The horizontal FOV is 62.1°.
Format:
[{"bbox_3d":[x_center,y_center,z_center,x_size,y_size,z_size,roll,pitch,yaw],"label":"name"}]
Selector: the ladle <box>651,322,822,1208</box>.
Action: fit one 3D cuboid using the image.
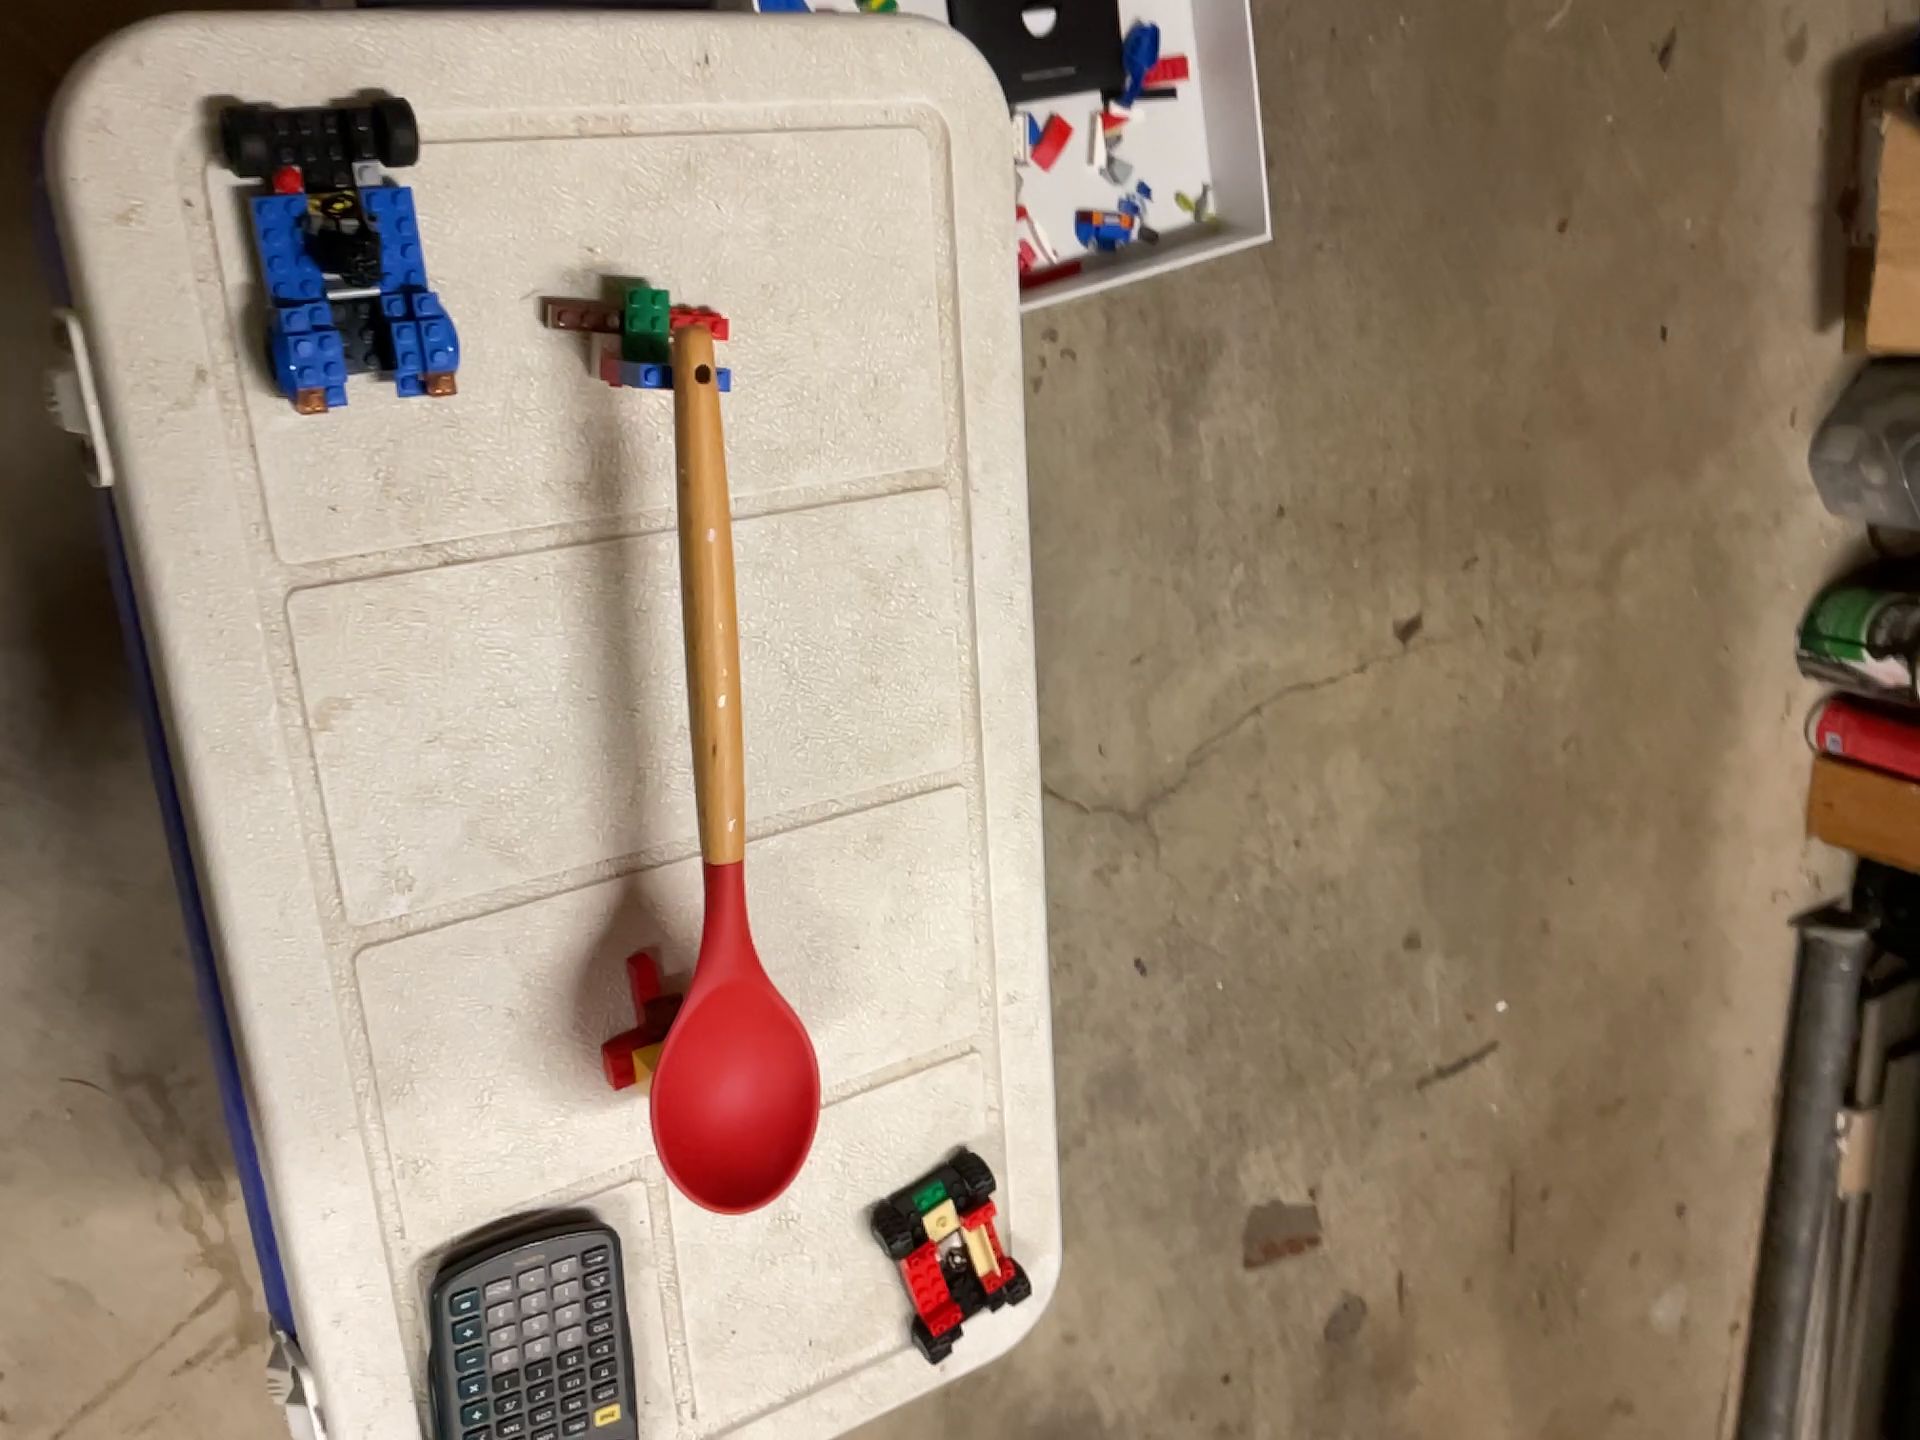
[{"bbox_3d":[-0.085,0.023,0.558,0.069,0.031,0.315,-12,109,-36],"label":"ladle"}]
